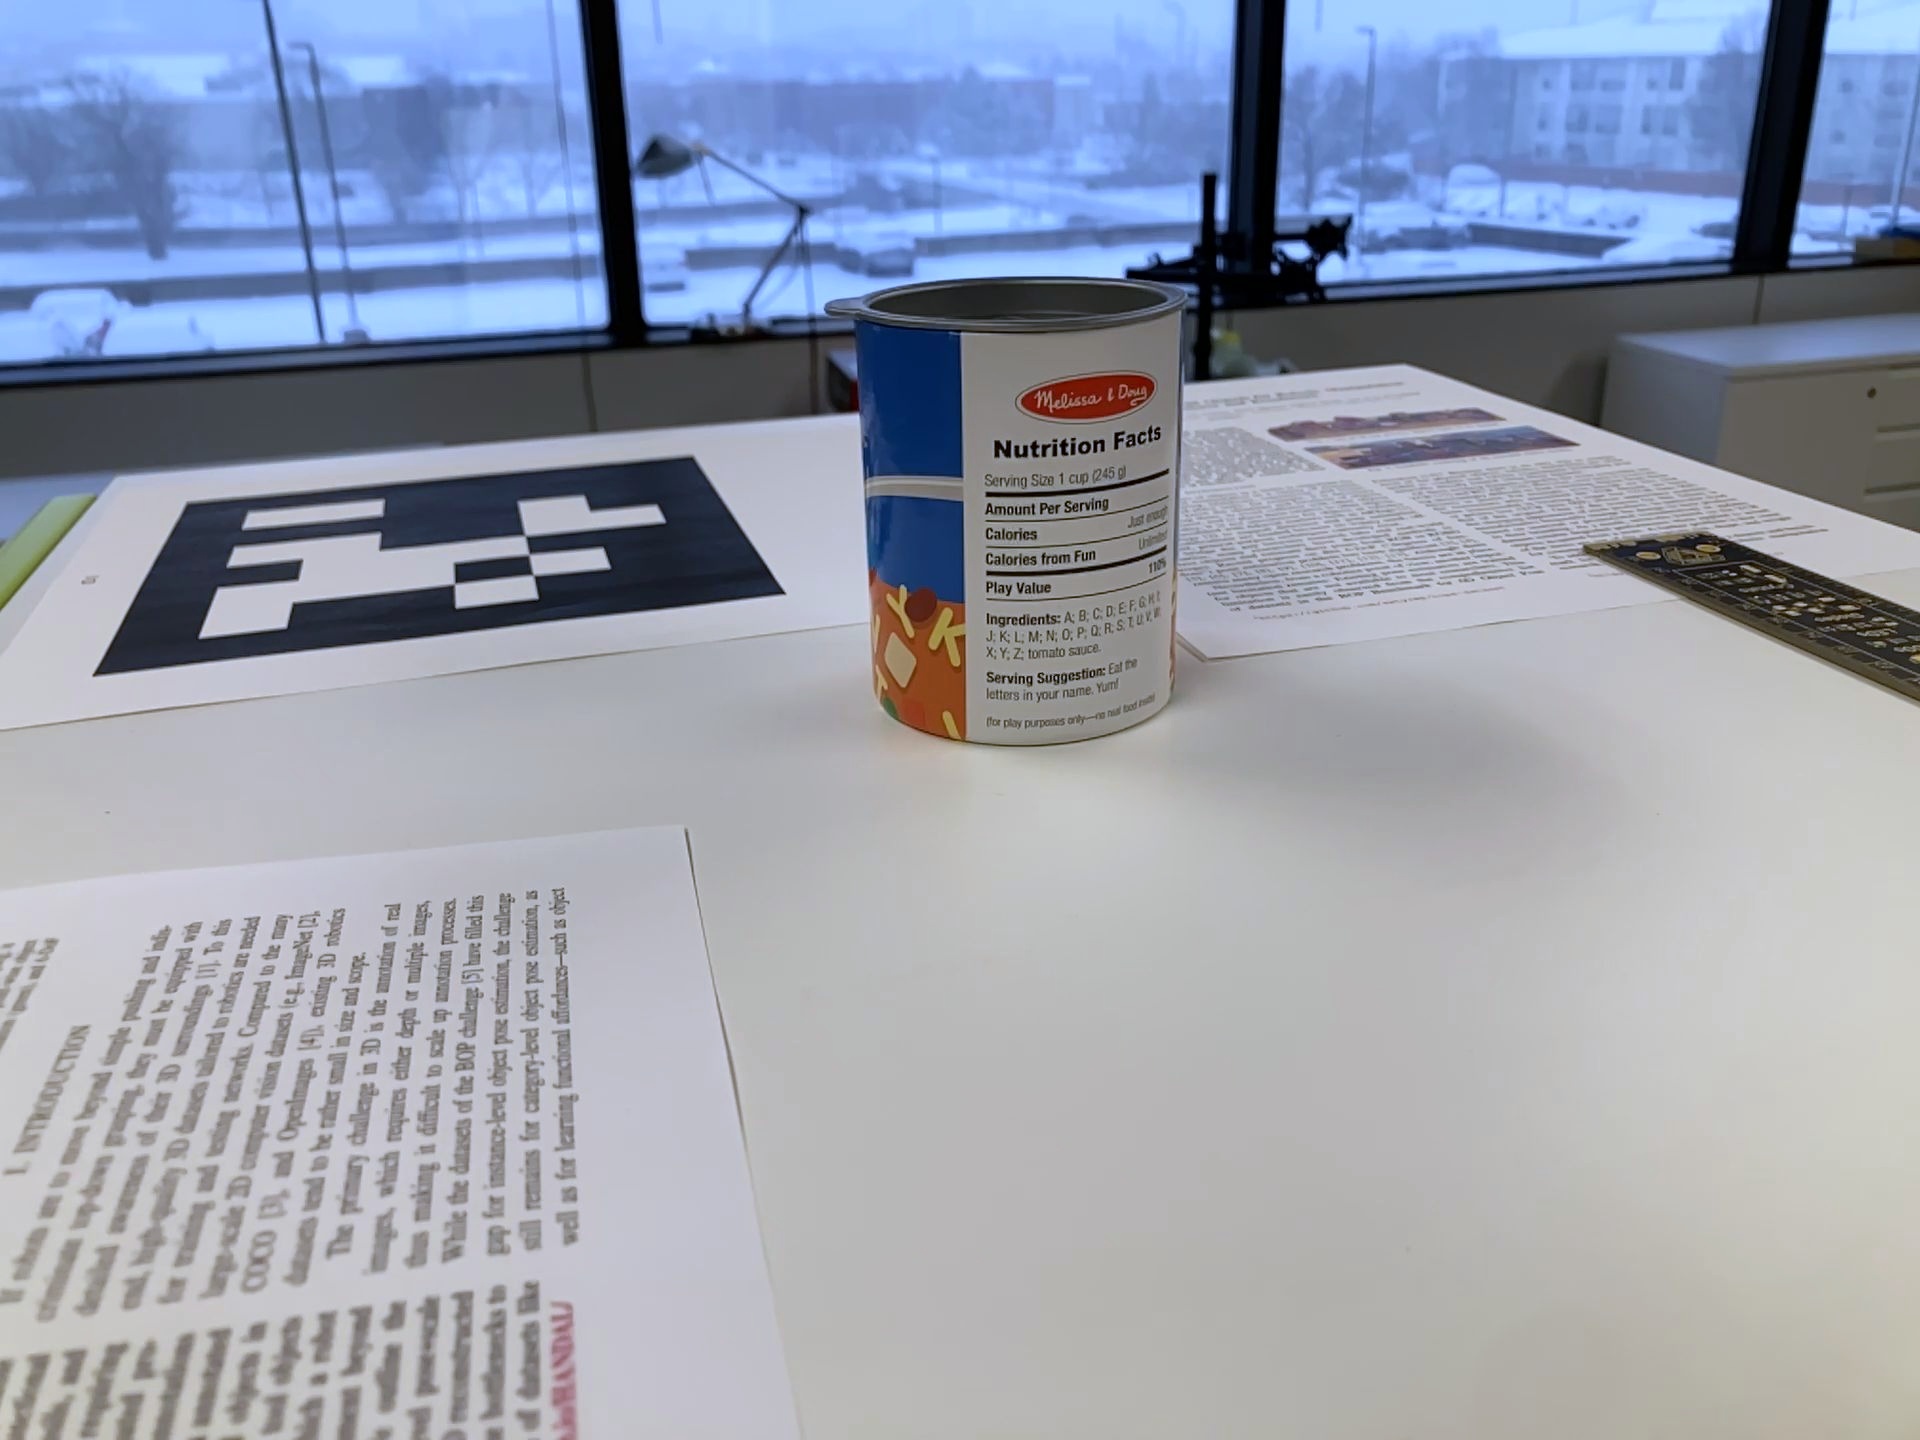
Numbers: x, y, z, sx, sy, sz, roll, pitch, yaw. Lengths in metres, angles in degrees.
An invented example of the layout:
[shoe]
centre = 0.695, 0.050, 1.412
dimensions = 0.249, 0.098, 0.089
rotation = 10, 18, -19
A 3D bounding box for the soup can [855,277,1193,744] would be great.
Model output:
[soup can]
centre = 0.012, -0.046, 0.331
dimensions = 0.071, 0.084, 0.071
rotation = -1, 22, 0
